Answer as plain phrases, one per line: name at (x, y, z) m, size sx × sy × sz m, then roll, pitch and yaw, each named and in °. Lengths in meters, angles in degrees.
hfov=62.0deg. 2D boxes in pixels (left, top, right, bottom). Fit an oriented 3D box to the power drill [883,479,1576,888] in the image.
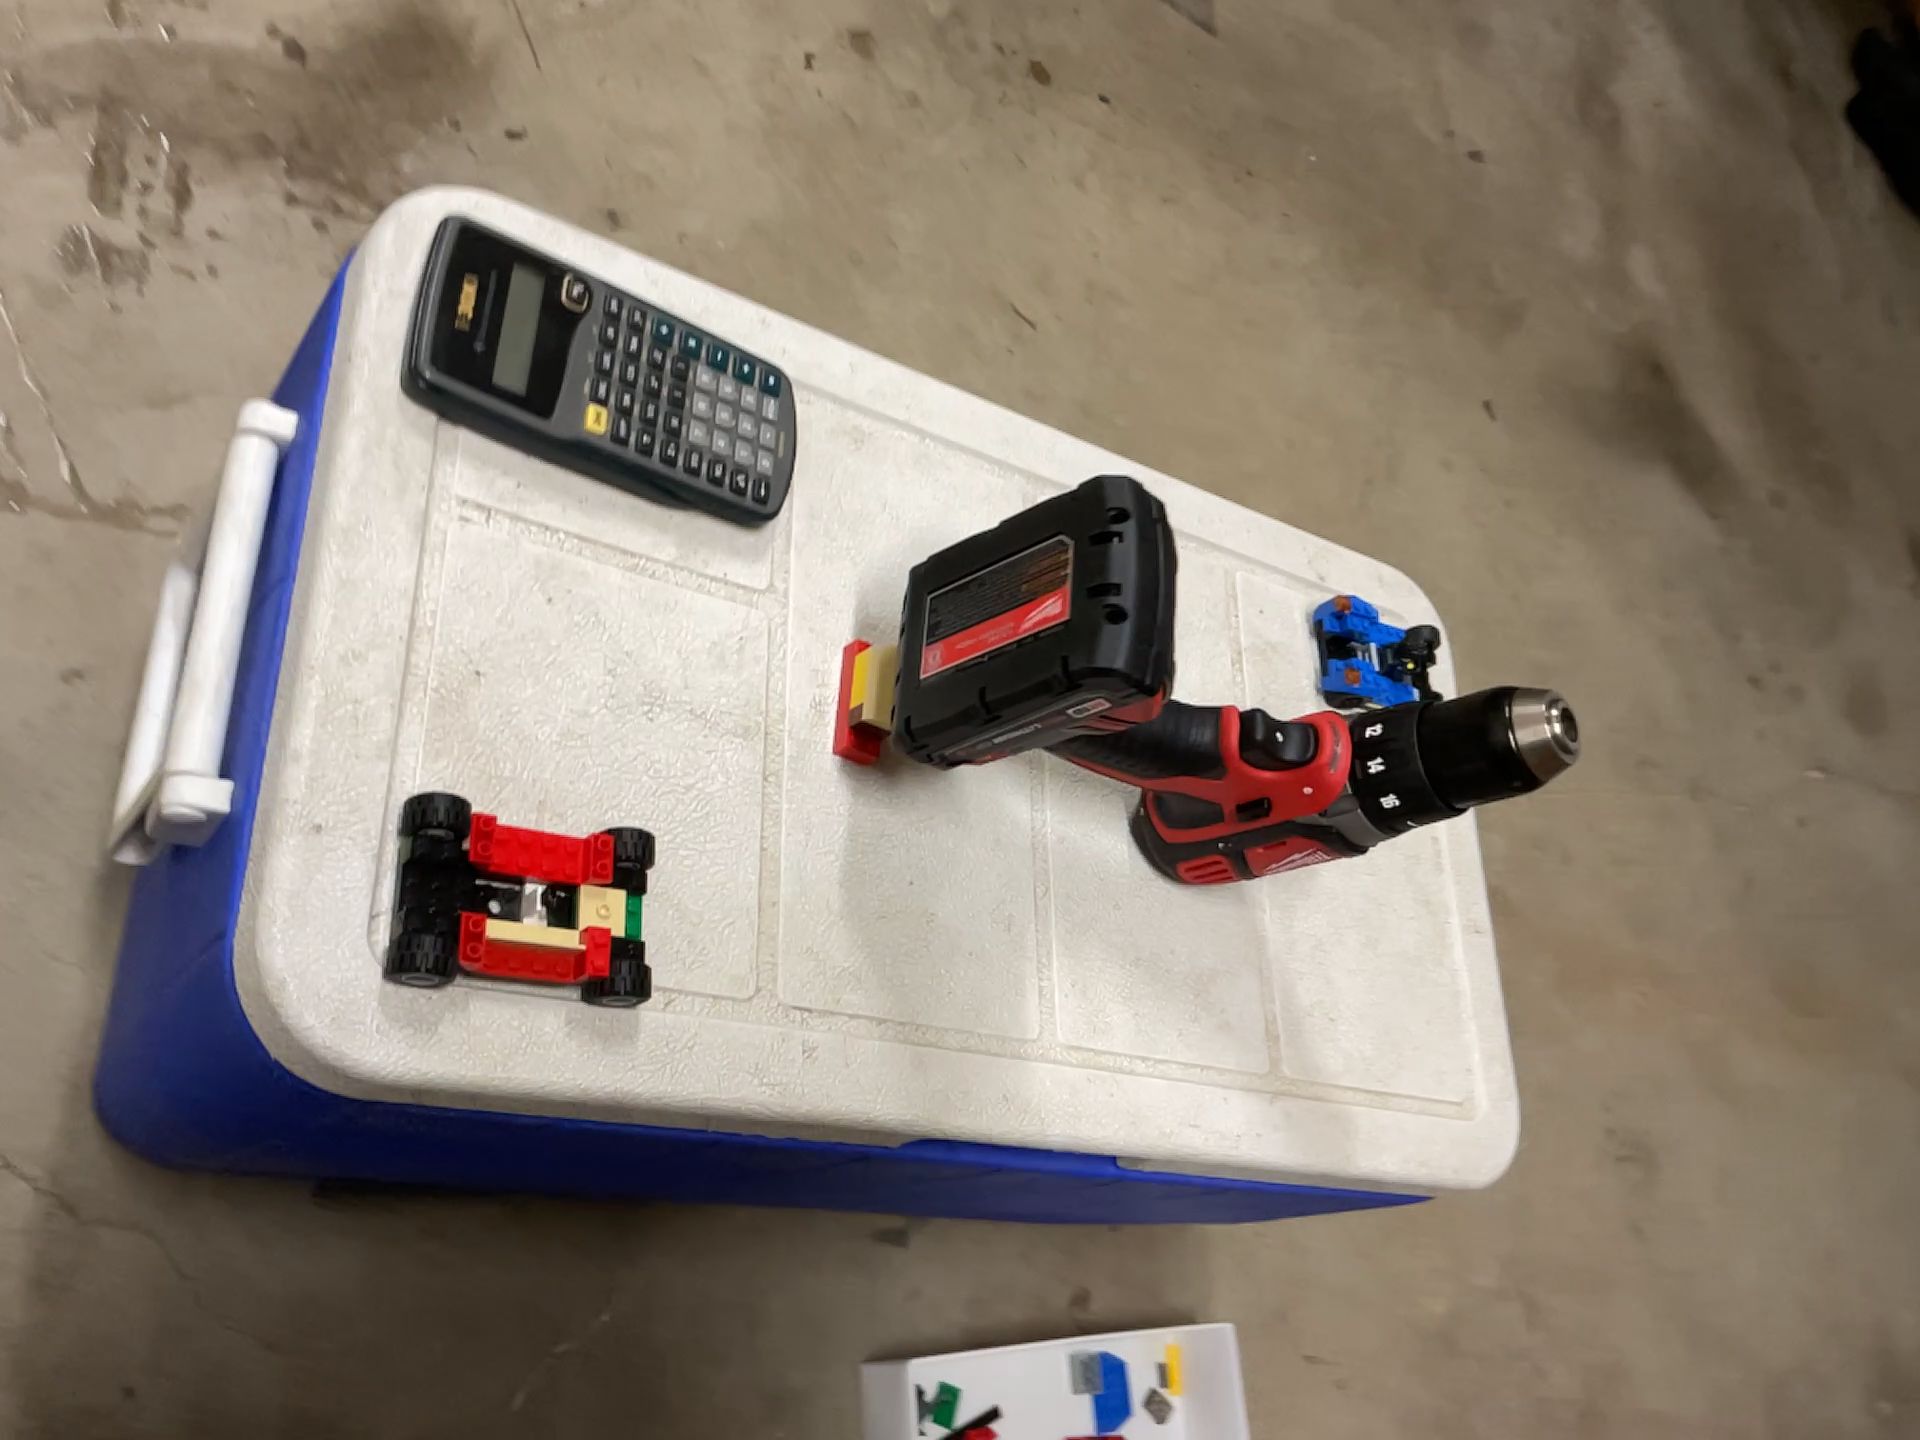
power drill at (0.104, -0.003, 0.612) m, size 0.226 × 0.187 × 0.080 m, roll 27°, pitch 57°, yaw -38°
